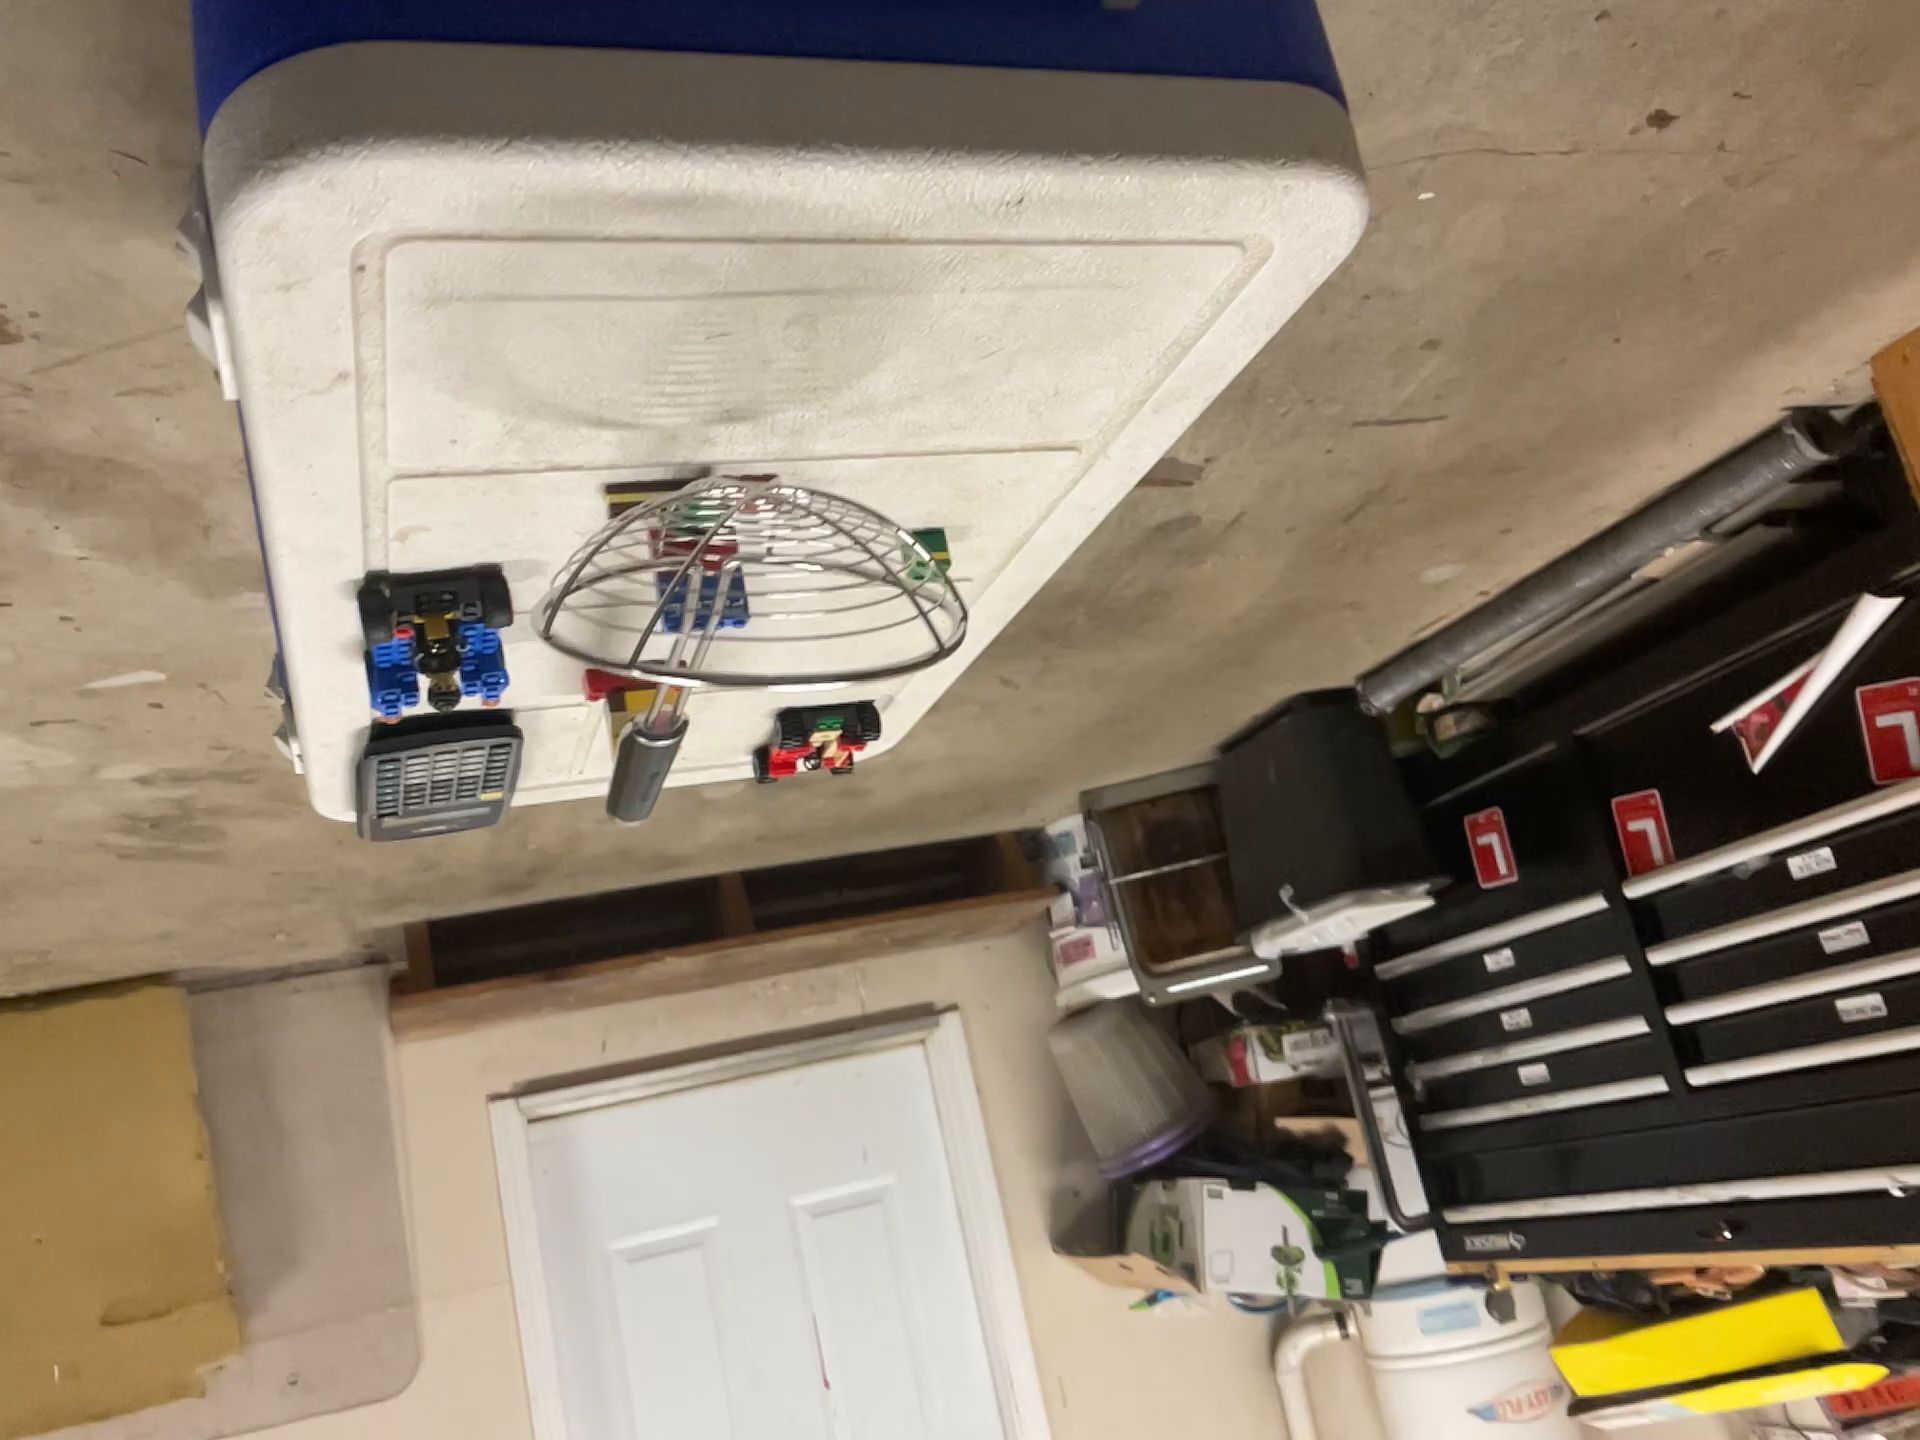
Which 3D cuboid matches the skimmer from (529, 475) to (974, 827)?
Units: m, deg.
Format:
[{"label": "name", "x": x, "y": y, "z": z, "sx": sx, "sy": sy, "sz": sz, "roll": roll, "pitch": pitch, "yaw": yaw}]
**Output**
[{"label": "skimmer", "x": -0.100, "y": 0.009, "z": 0.583, "sx": 0.127, "sy": 0.090, "sz": 0.363, "roll": -4, "pitch": 162, "yaw": -20}]
